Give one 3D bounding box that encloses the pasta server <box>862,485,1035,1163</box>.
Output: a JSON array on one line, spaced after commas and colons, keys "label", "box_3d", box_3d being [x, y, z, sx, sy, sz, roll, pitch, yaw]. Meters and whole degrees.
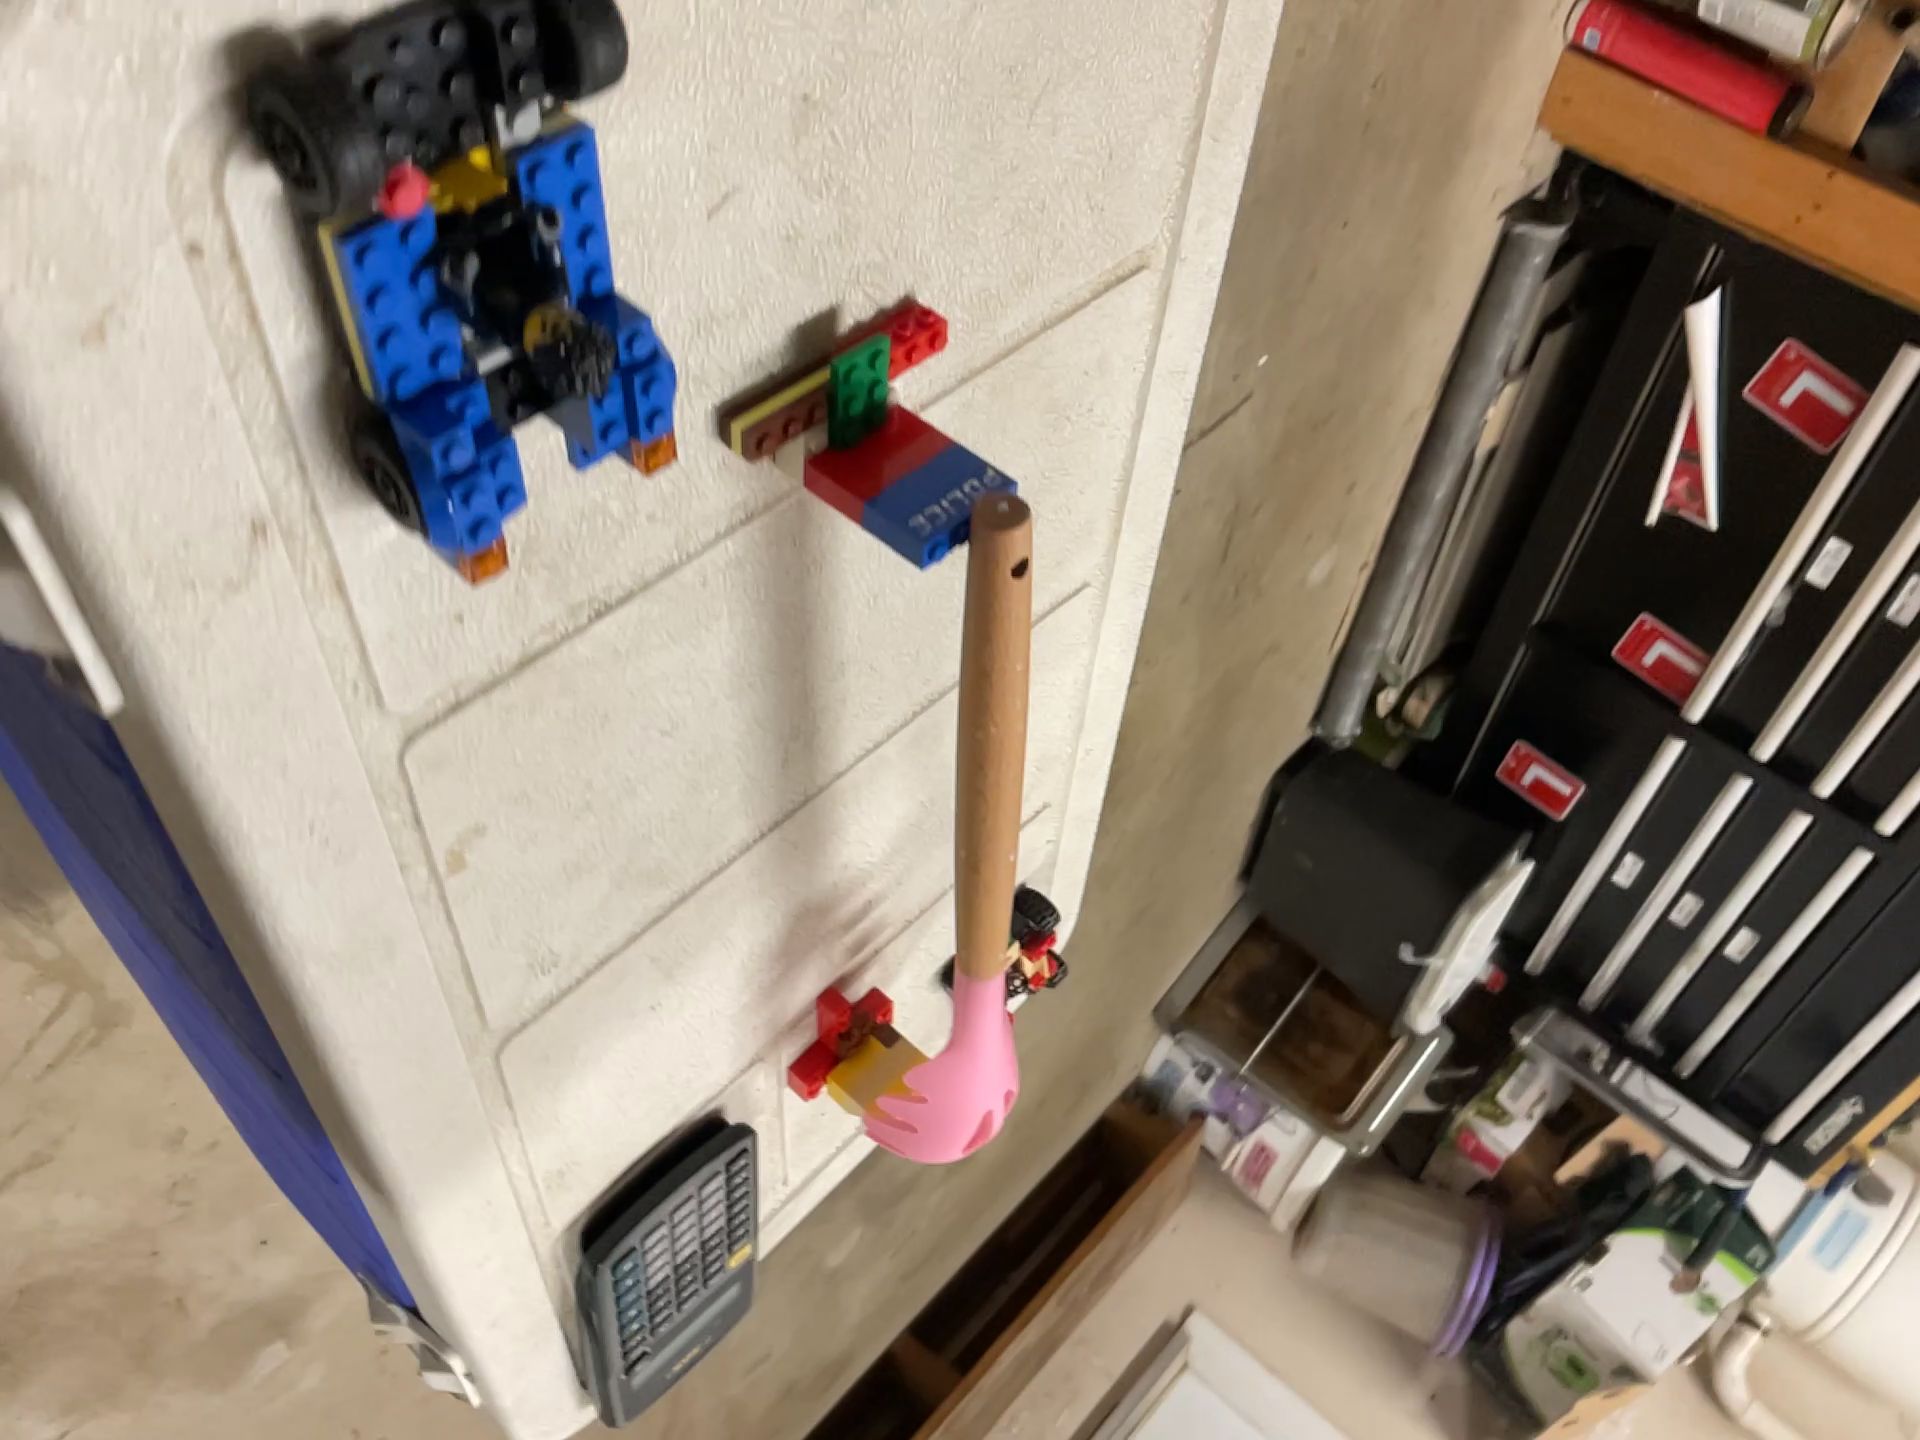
[{"label": "pasta server", "box_3d": [0.001, 0.052, 0.472, 0.060, 0.040, 0.316, -38, 150, -29]}]
